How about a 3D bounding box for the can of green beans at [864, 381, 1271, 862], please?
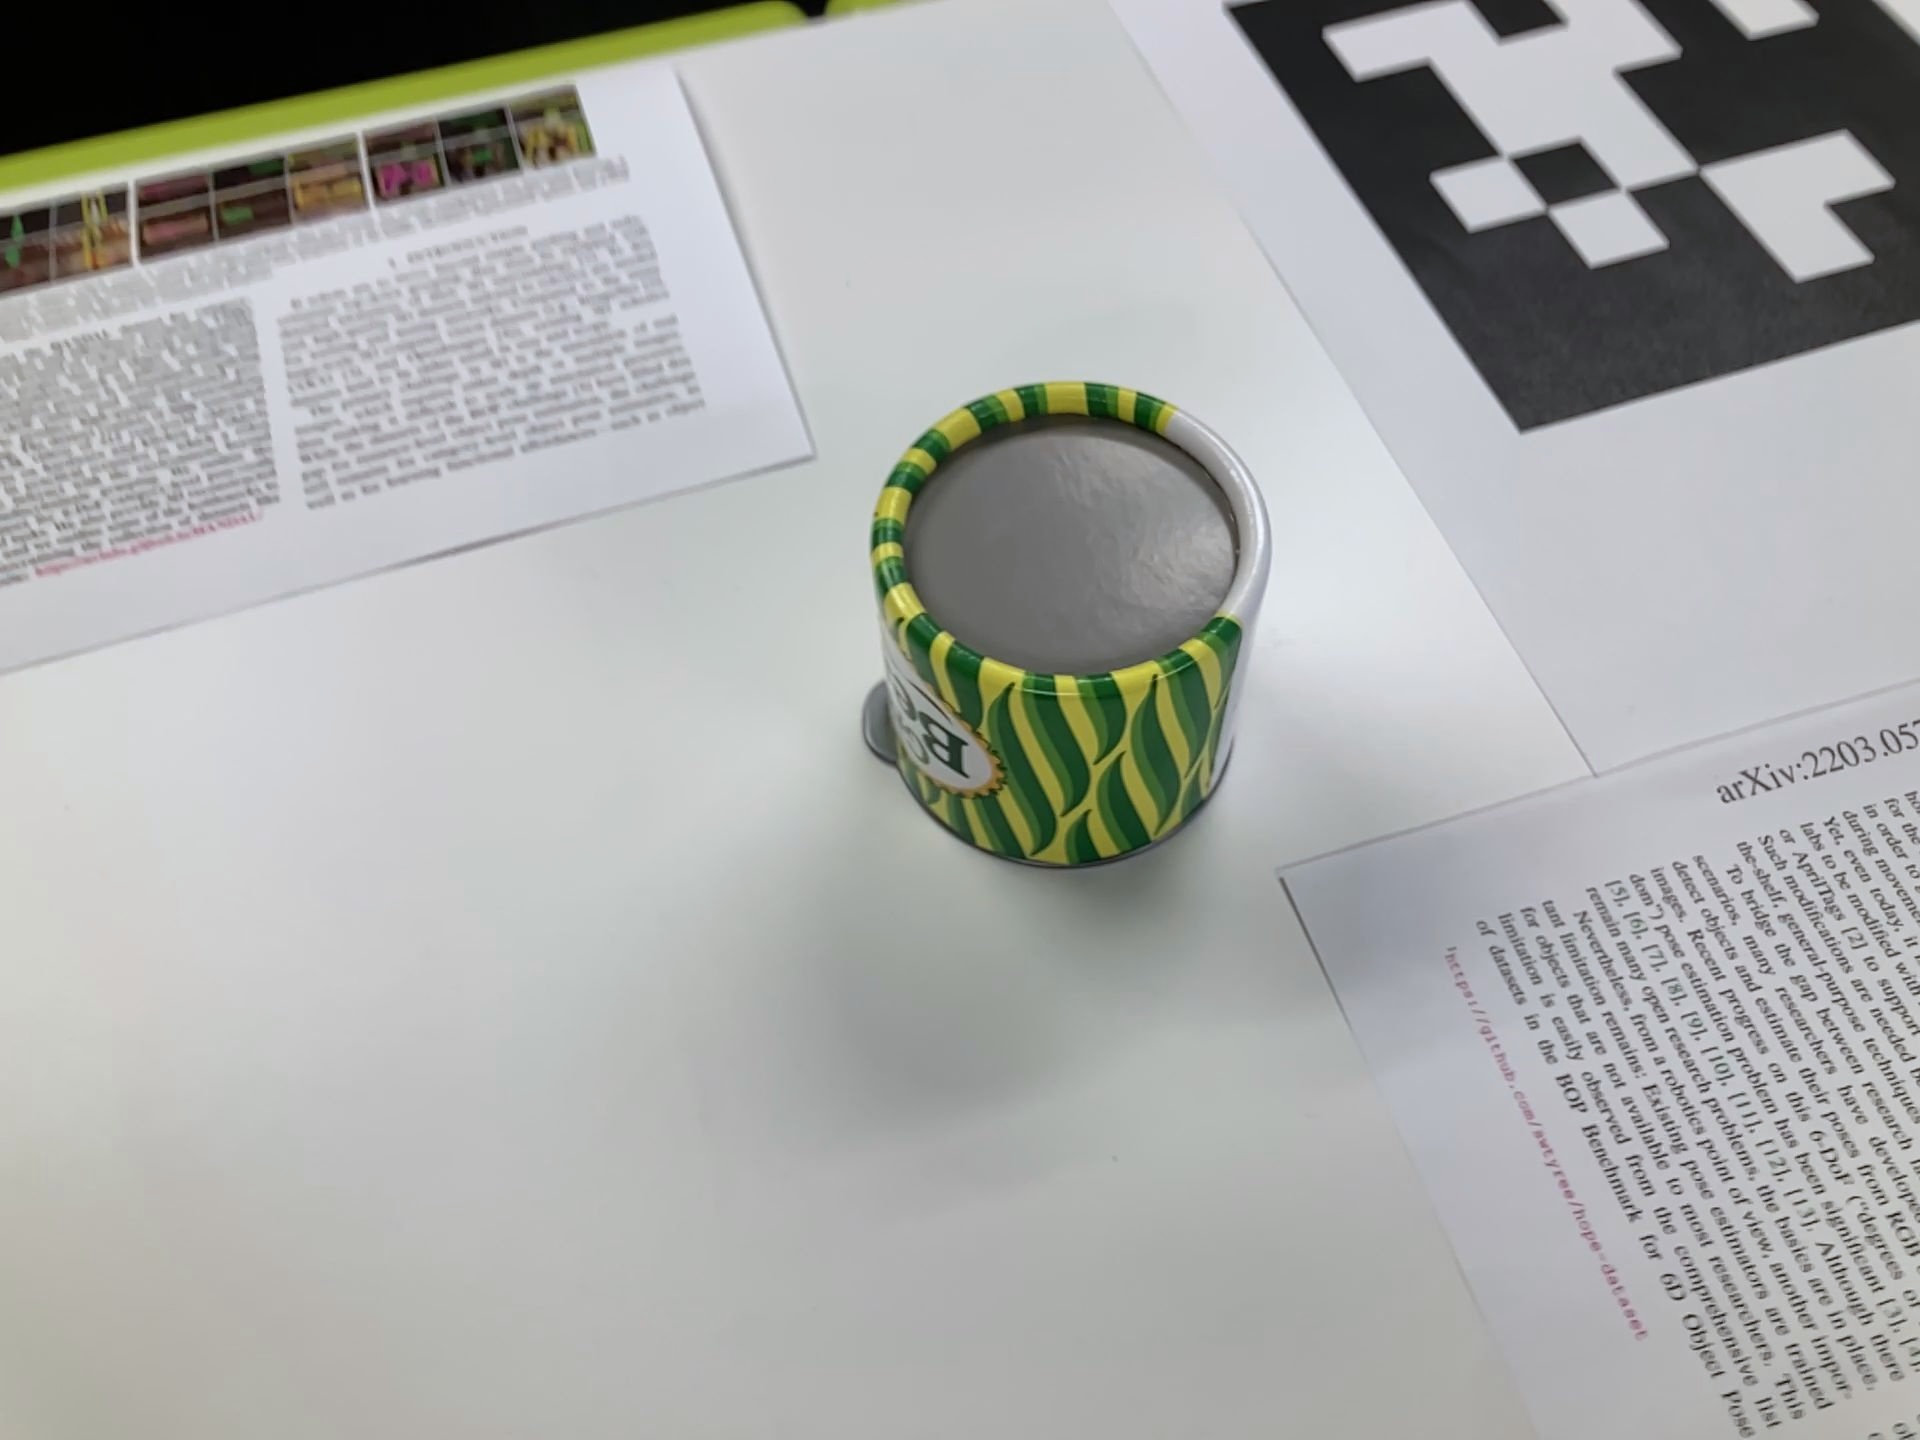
[{"bbox_3d":[0.019,-0.017,0.285,0.071,0.058,0.071,-1,58,1],"label":"can of green beans"}]
